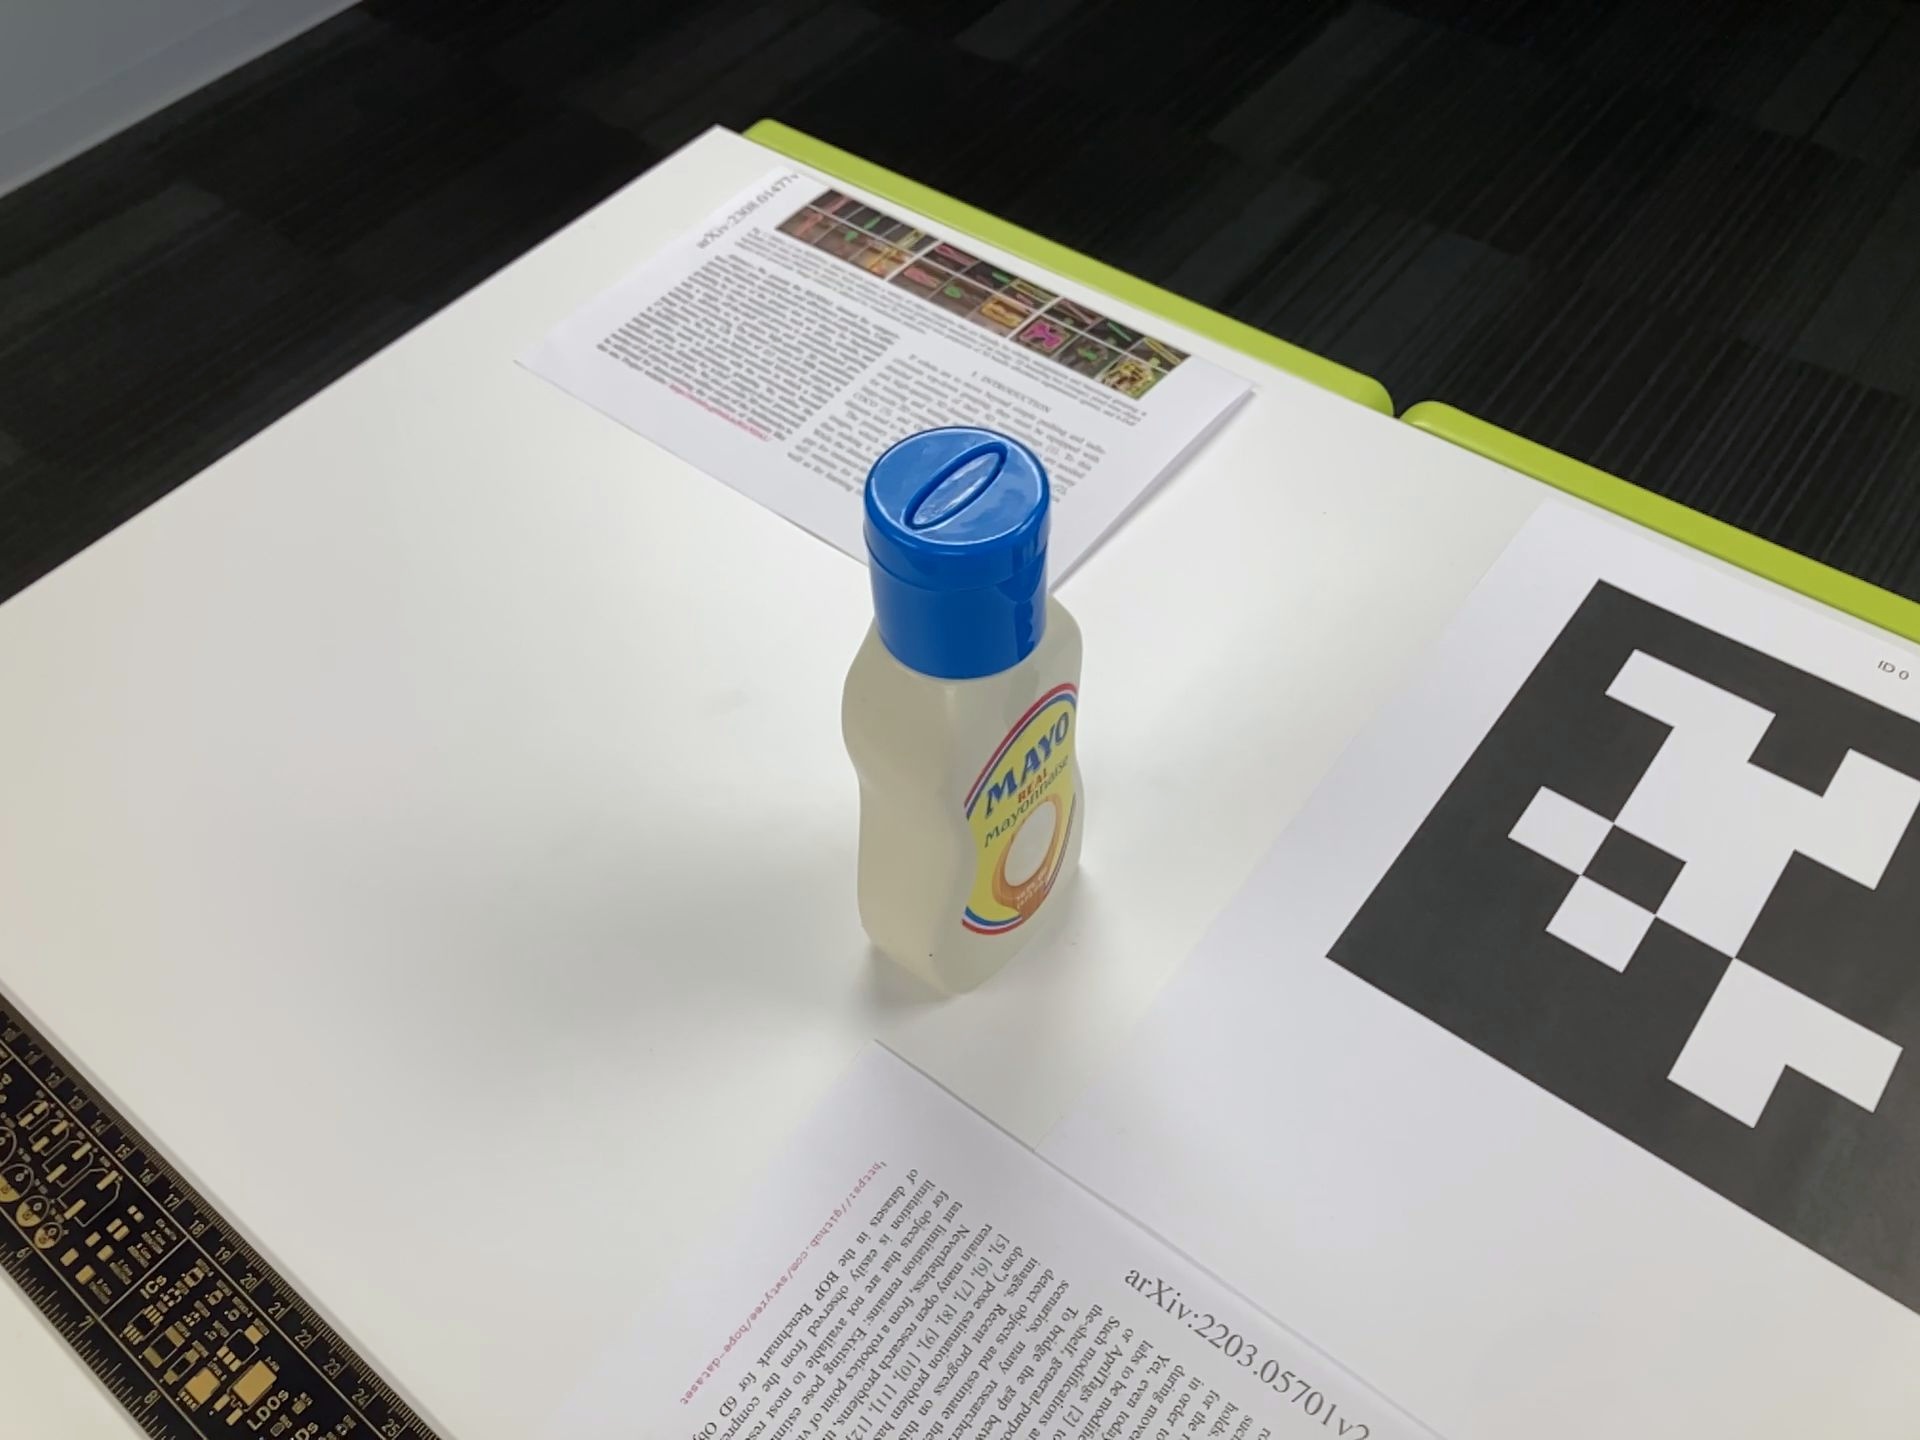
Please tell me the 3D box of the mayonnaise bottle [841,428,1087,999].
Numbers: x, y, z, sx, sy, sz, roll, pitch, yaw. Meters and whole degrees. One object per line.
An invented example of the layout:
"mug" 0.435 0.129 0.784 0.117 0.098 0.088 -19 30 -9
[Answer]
"mayonnaise bottle" 0.002 0.002 0.356 0.041 0.148 0.065 31 59 24
